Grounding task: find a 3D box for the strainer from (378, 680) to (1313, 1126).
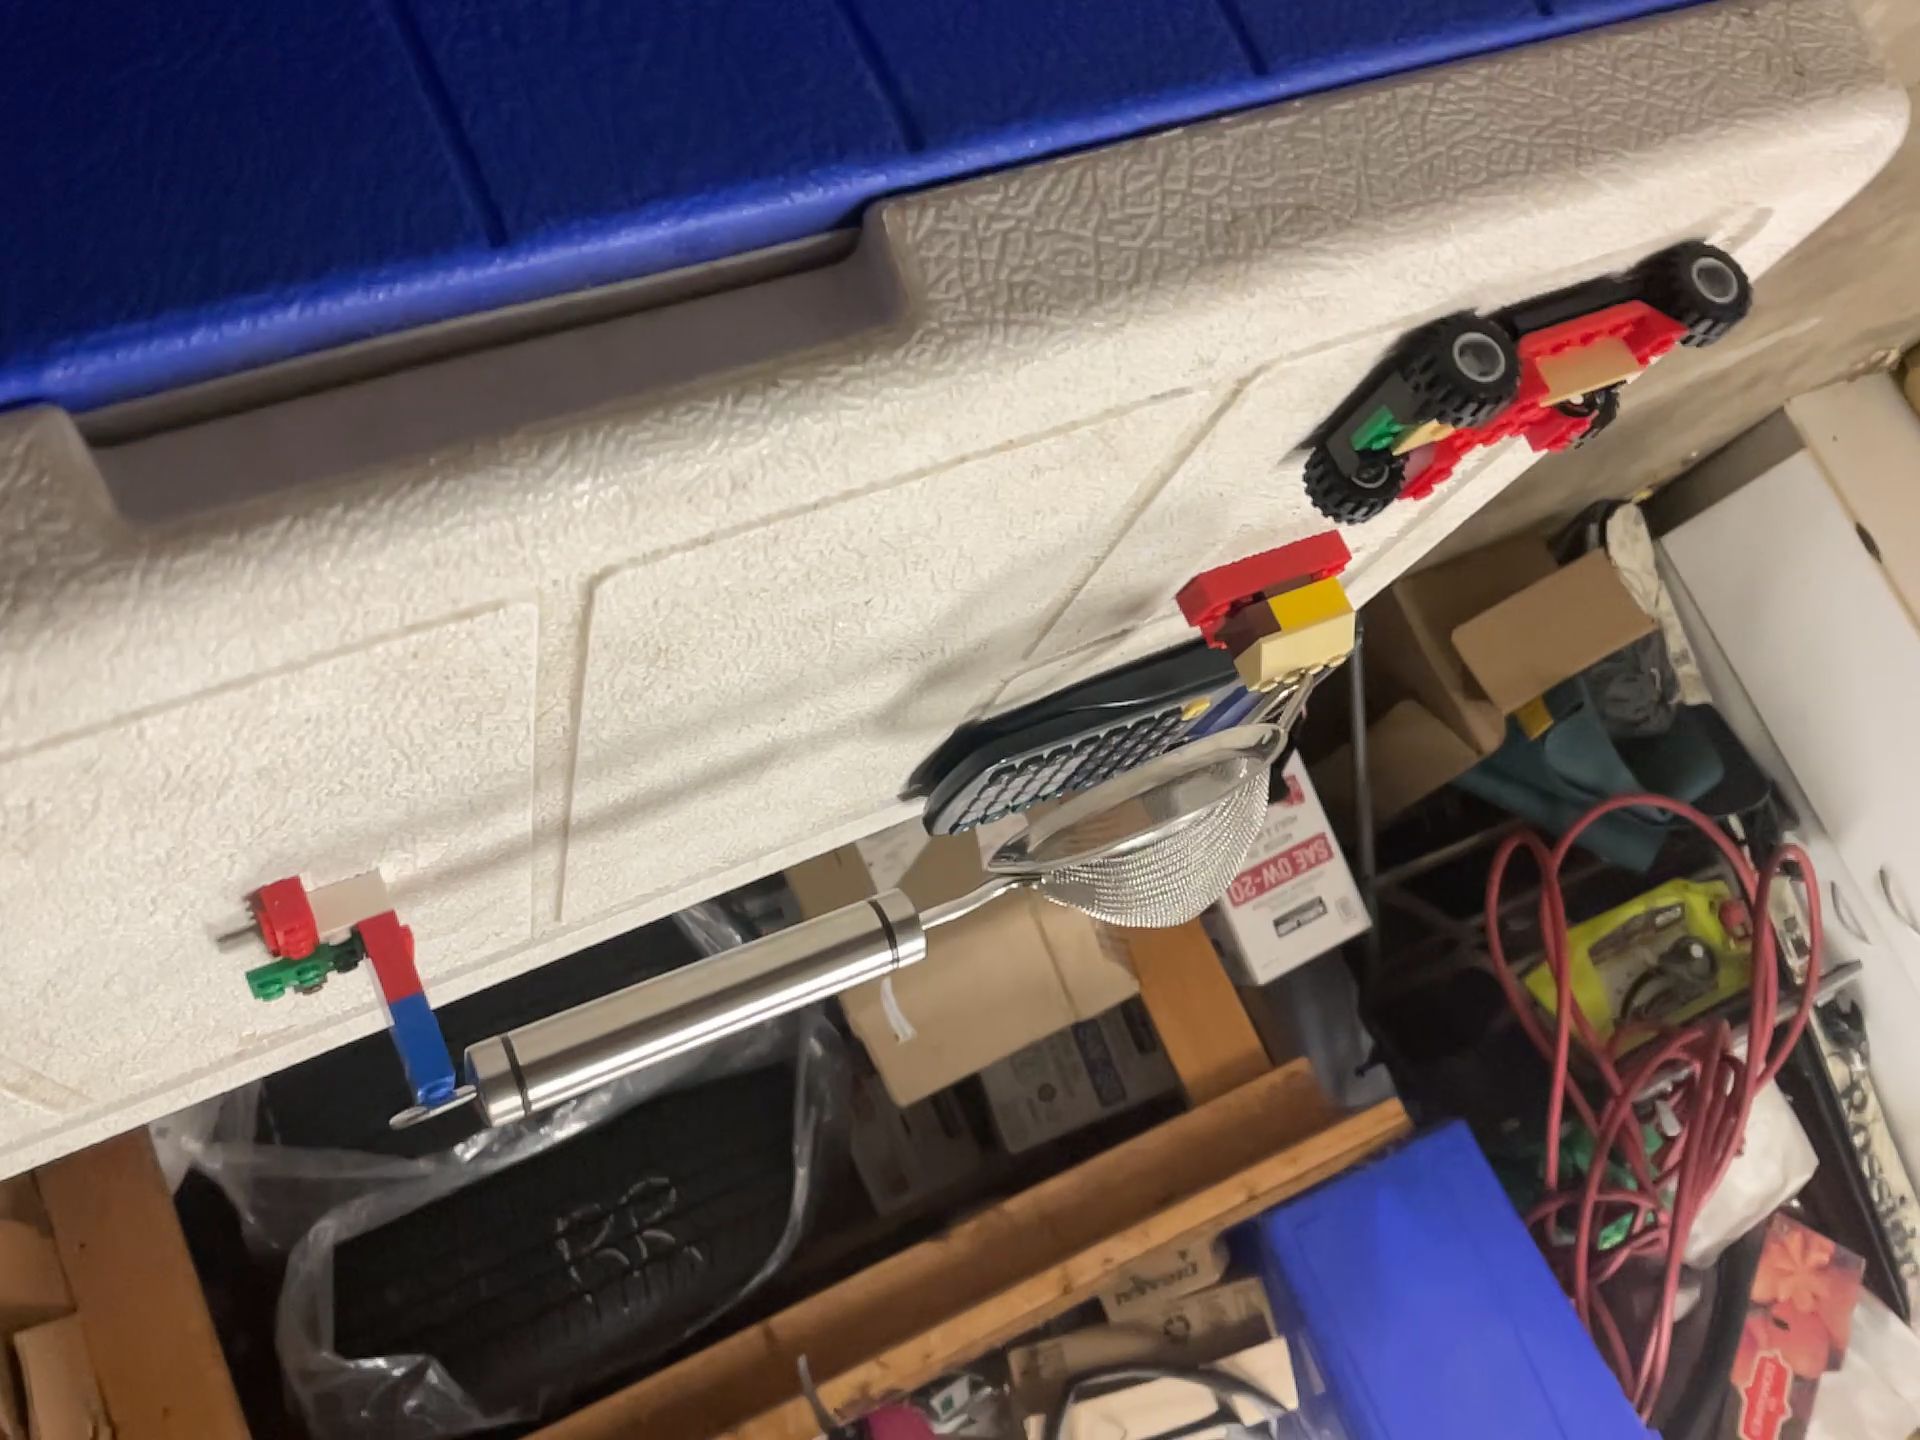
[{"bbox_3d":[-0.012,0.050,0.394,0.258,0.050,0.087,-18,-178,-22],"label":"strainer"}]
